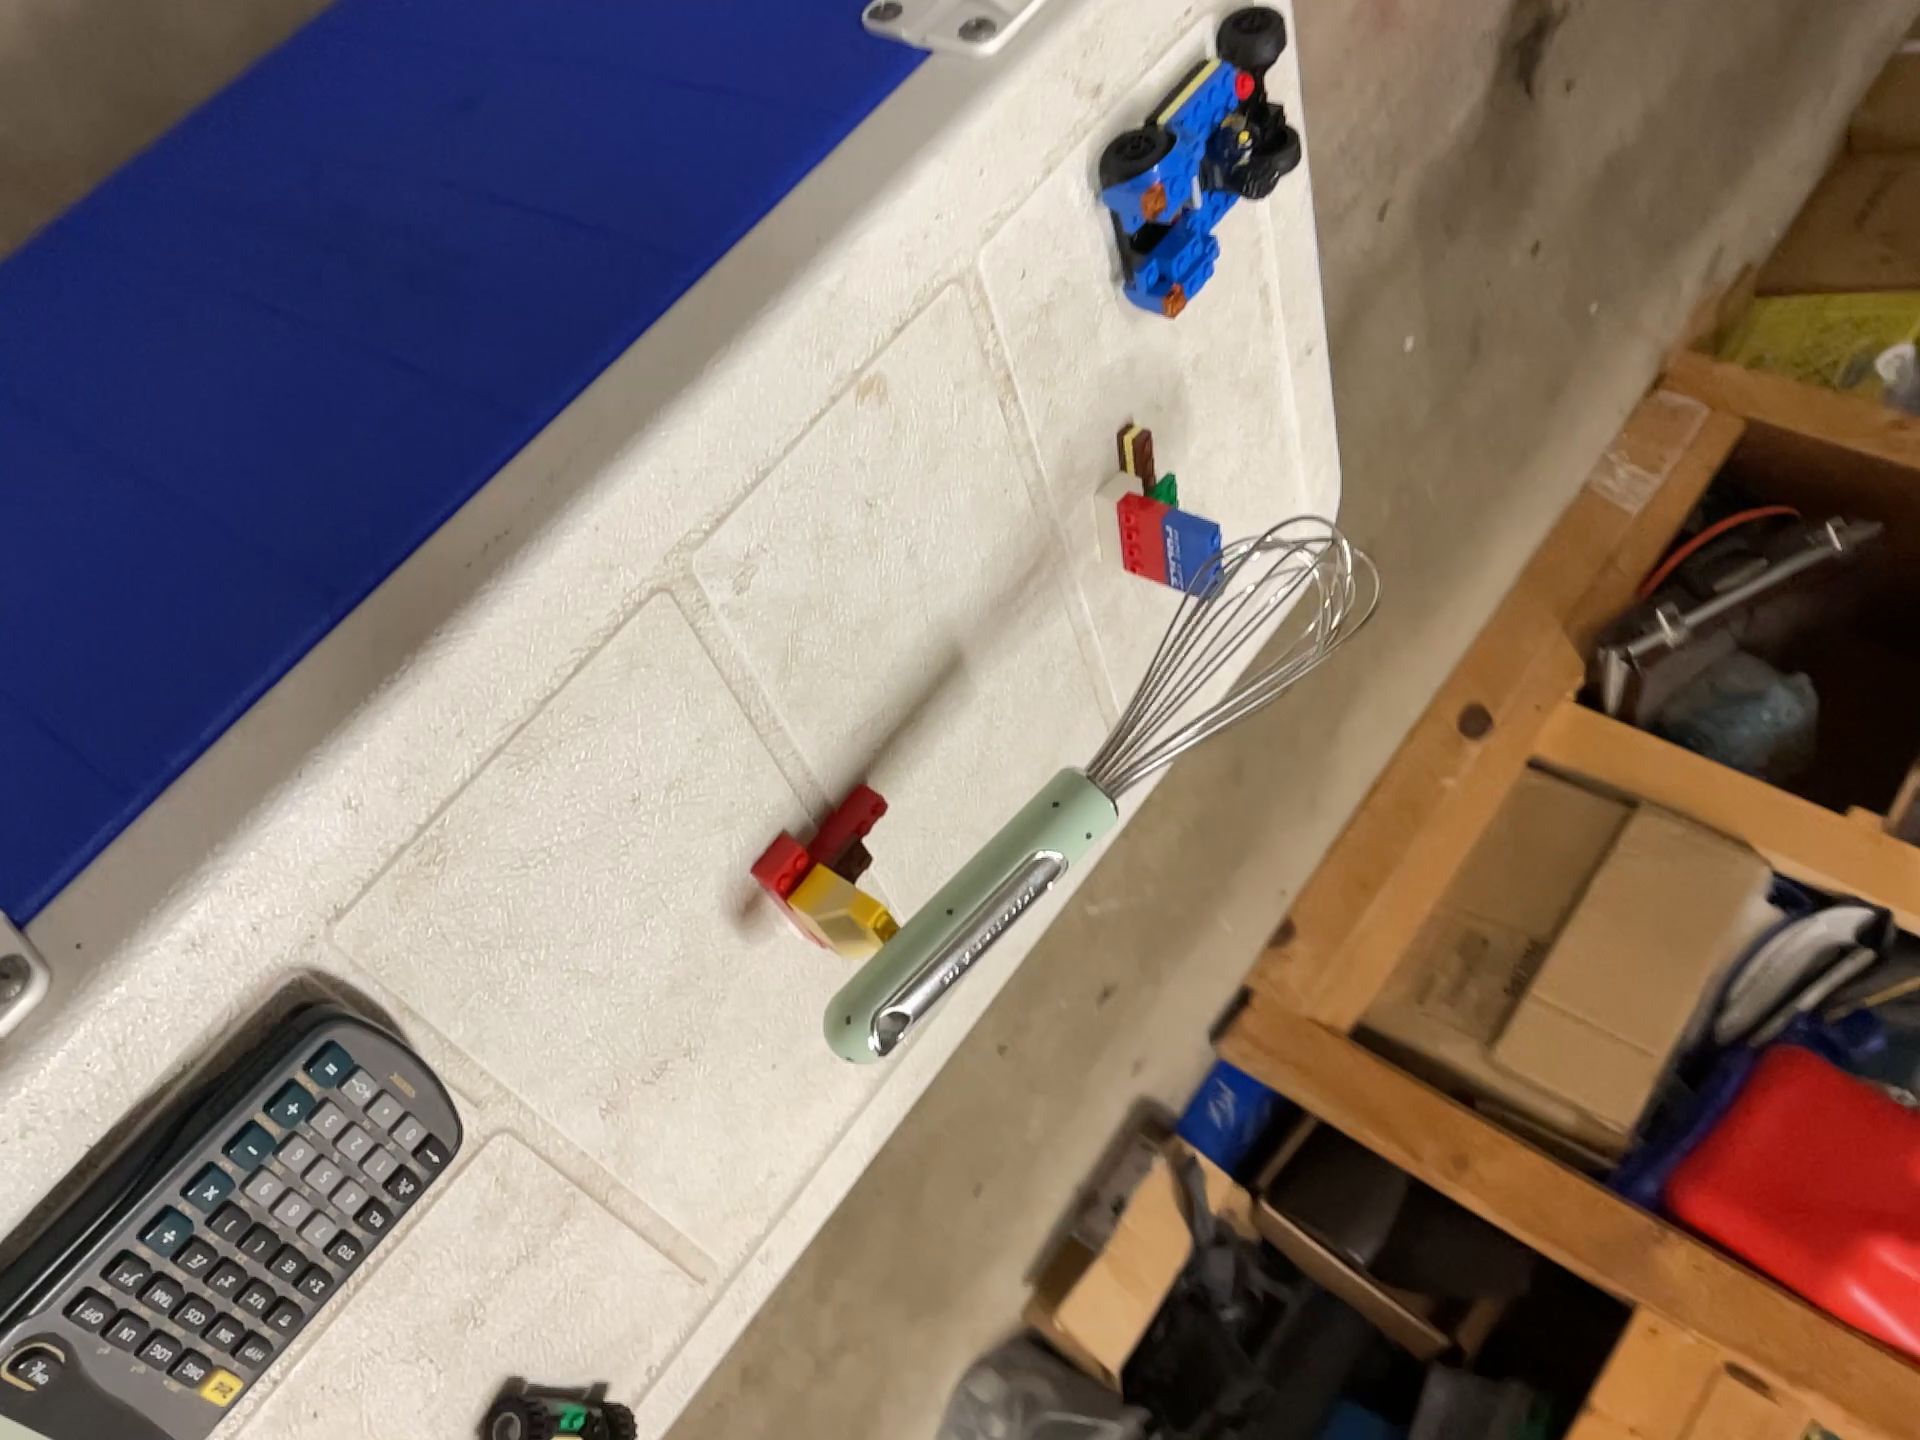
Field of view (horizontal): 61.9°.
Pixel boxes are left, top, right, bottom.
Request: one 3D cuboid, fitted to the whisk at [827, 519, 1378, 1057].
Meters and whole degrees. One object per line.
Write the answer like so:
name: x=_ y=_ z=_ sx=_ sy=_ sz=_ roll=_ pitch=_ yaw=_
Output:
whisk: x=0.049 y=0.019 z=0.526 sx=0.246 sy=0.059 sz=0.057 roll=-43 pitch=136 yaw=-17
